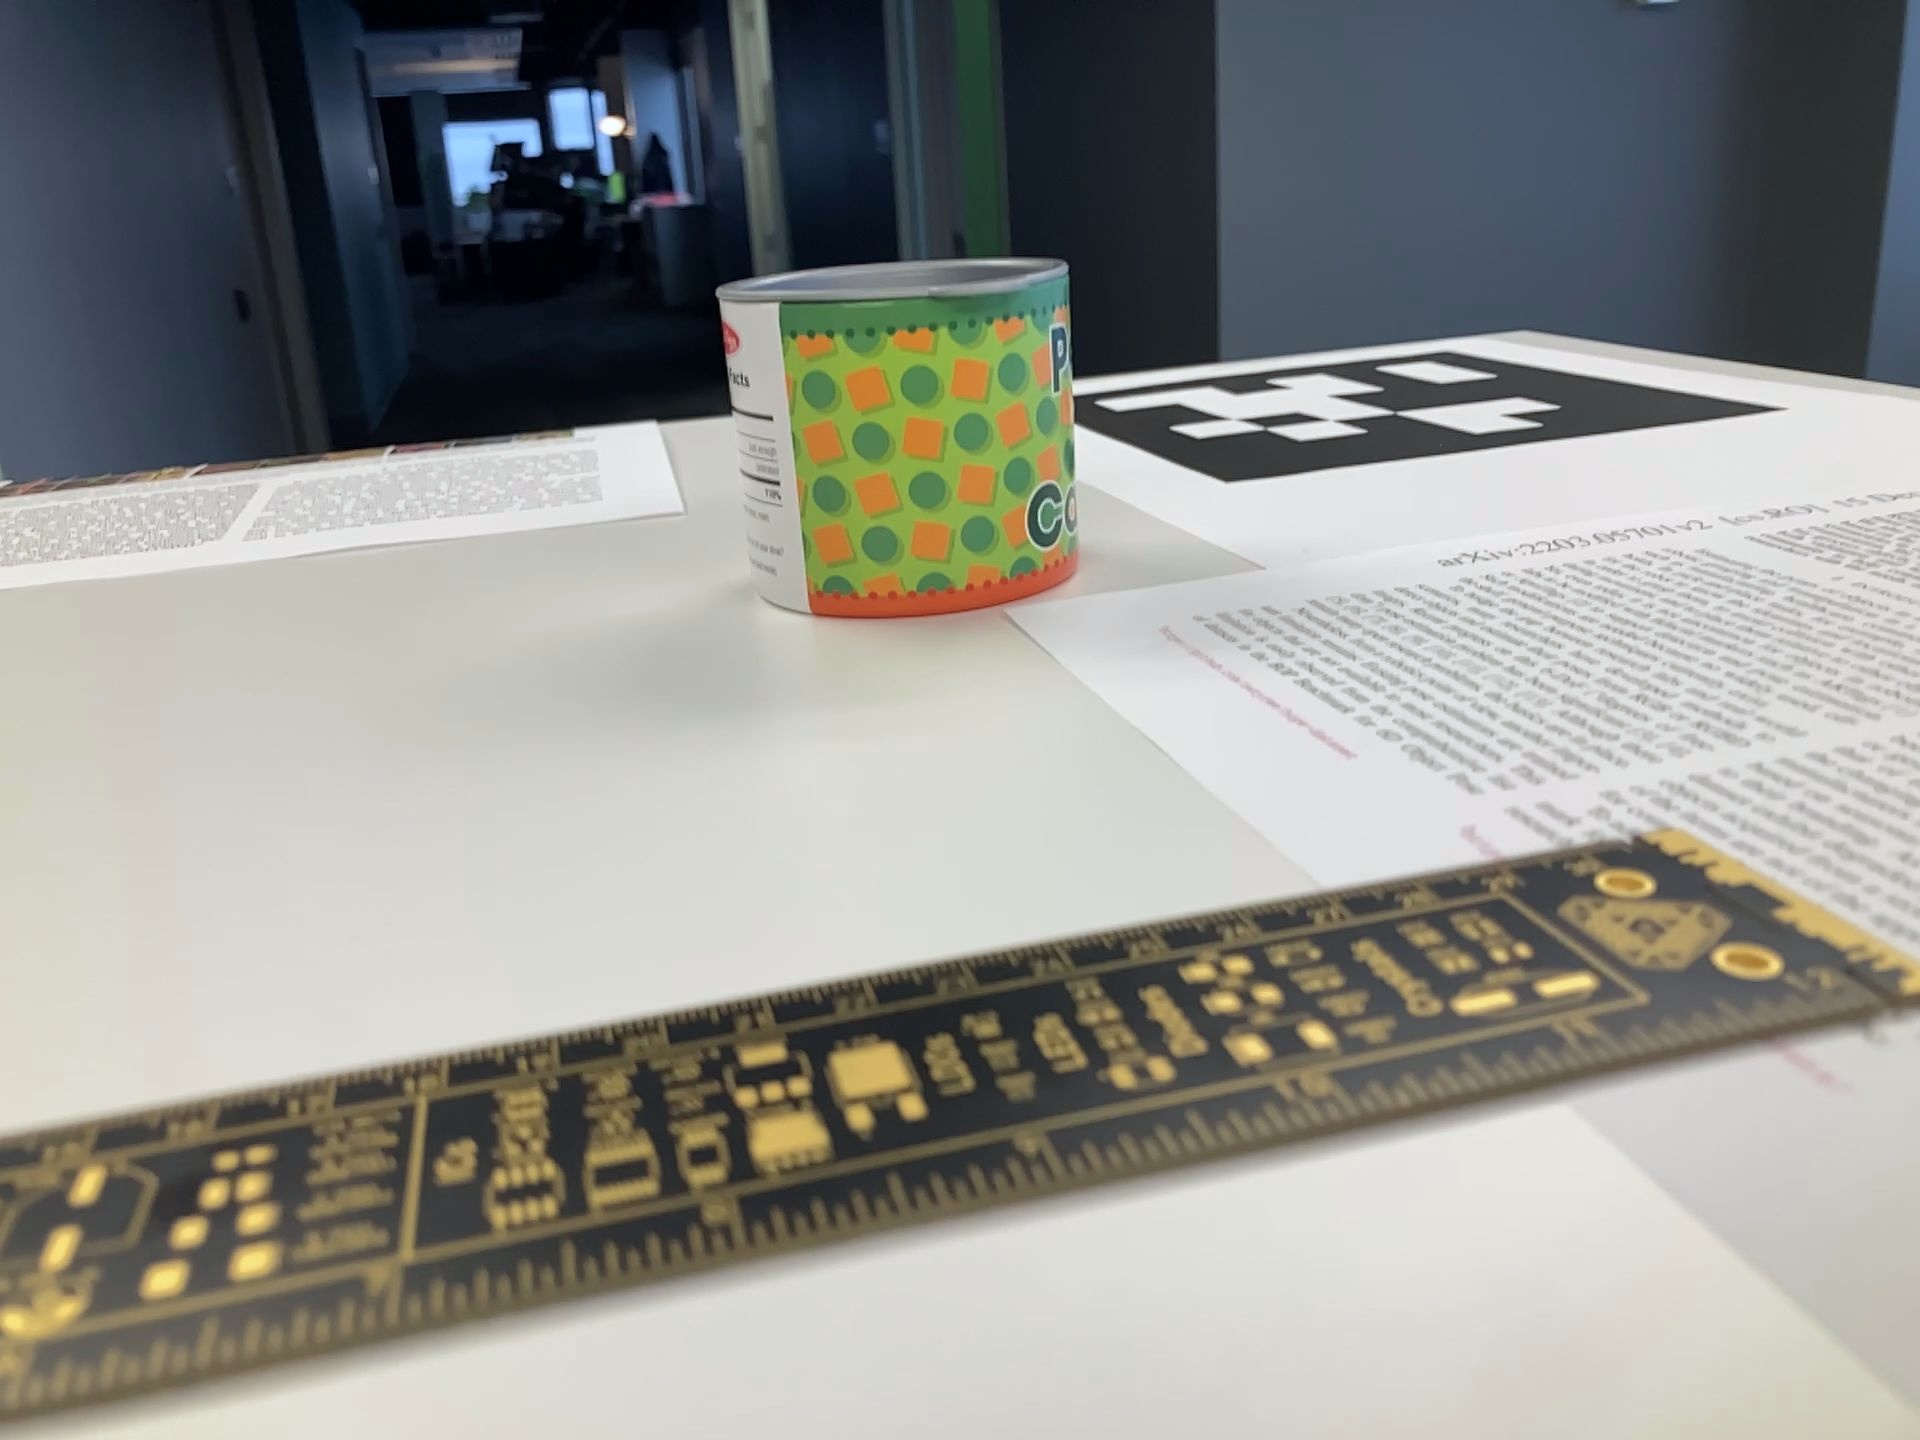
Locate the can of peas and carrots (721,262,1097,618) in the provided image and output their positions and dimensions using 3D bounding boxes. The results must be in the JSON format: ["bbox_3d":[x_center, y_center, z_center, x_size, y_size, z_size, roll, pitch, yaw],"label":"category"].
[{"bbox_3d":[-0.008,-0.057,0.310,0.071,0.059,0.071,-4,19,1],"label":"can of peas and carrots"}]
